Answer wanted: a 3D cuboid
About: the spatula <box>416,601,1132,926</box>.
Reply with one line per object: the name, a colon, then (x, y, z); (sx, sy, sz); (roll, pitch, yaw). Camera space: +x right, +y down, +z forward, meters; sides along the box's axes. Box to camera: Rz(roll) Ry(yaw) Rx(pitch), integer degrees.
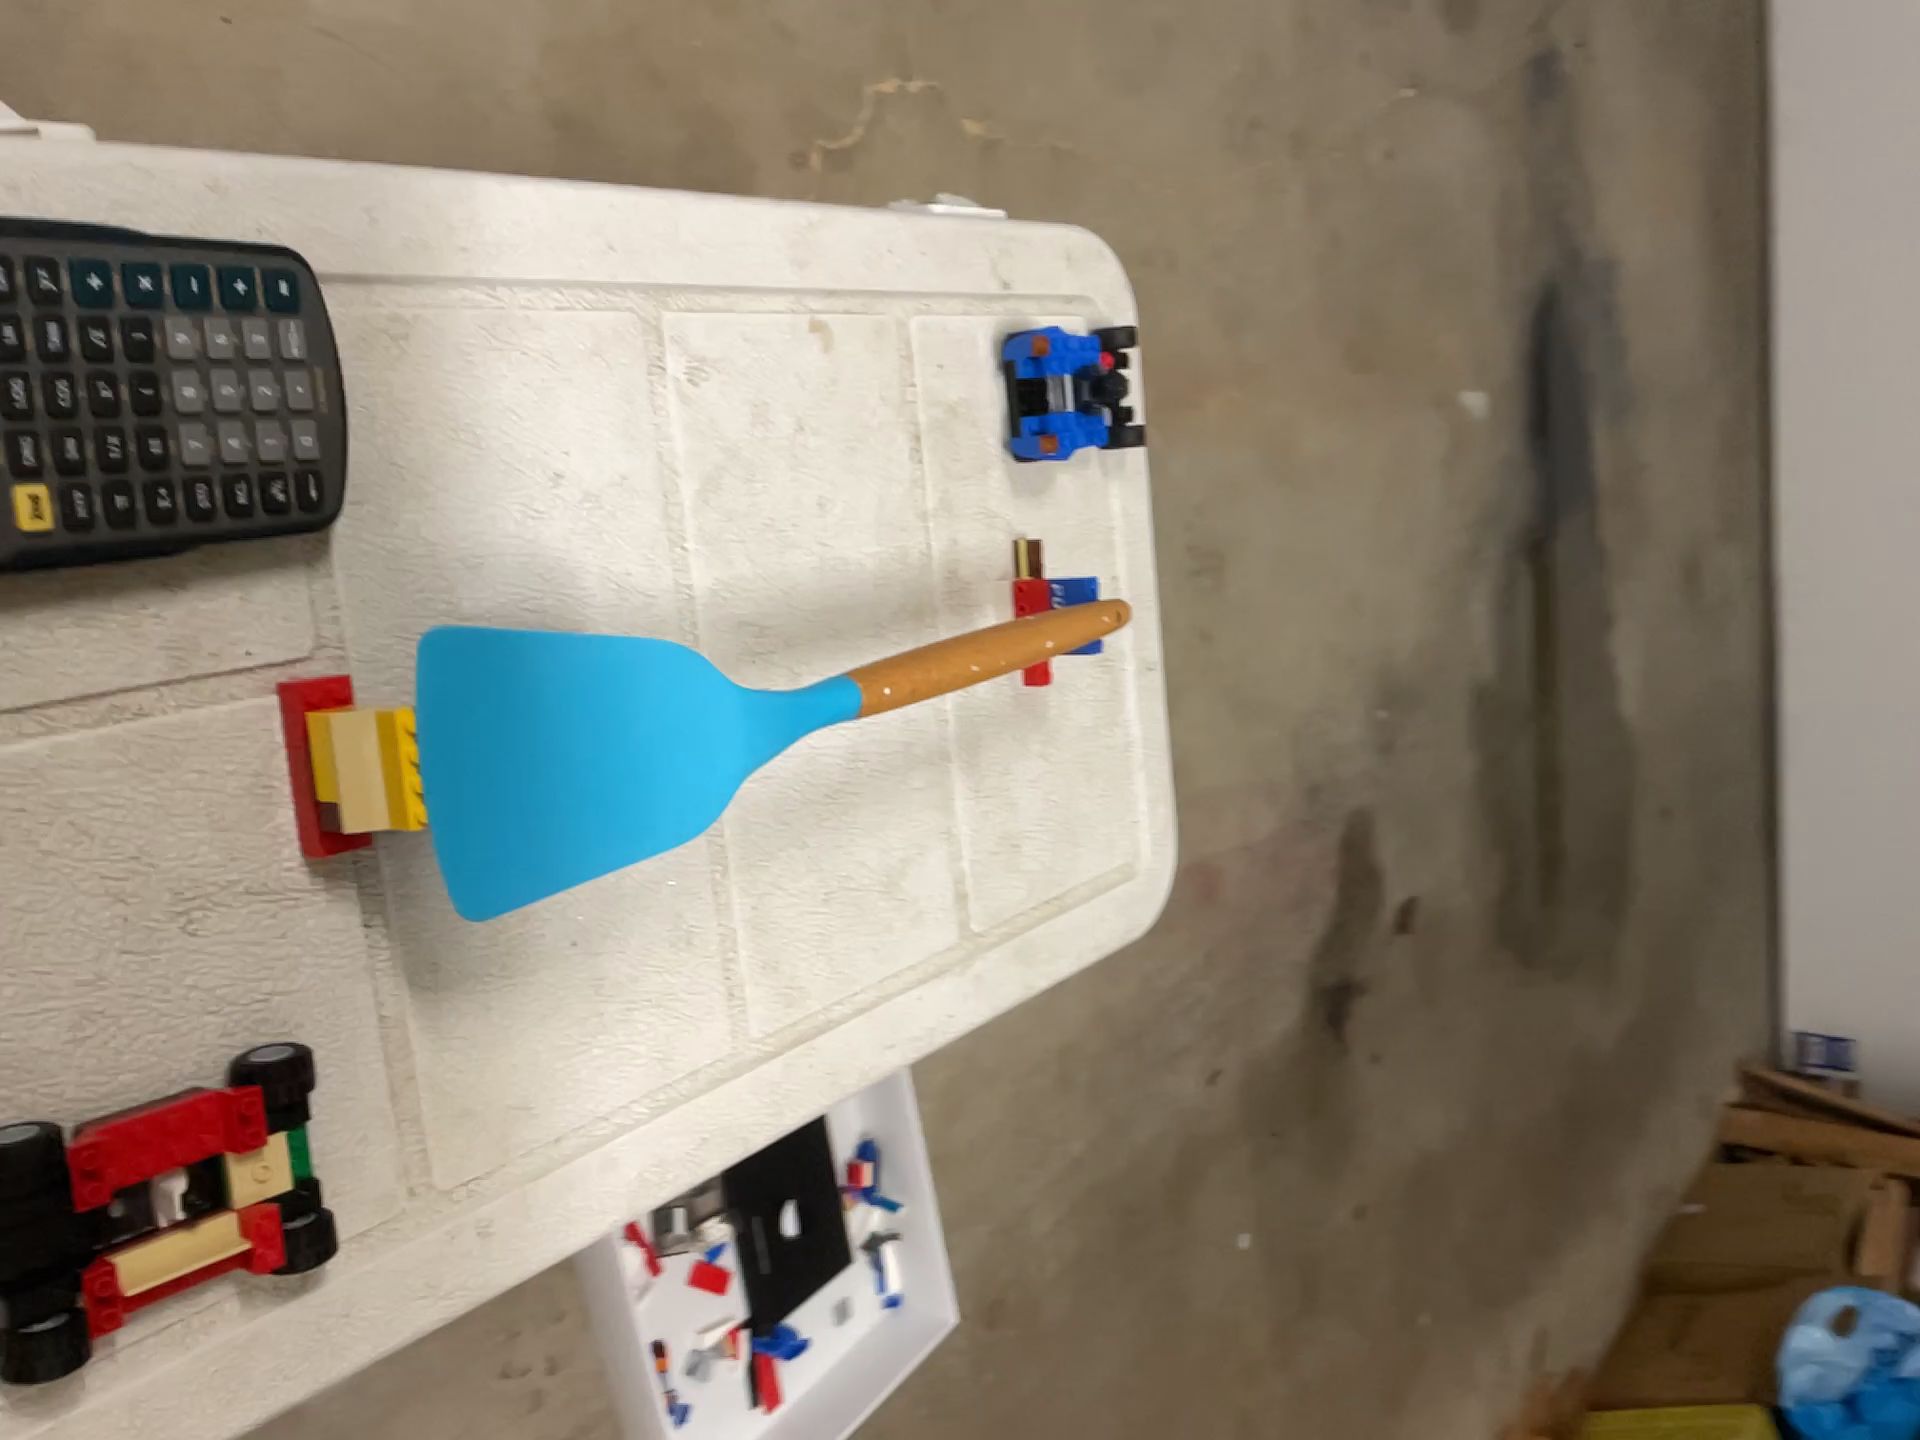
spatula: (-0.032, -0.014, 0.532); (0.318, 0.044, 0.082); (-18, 105, -54)
